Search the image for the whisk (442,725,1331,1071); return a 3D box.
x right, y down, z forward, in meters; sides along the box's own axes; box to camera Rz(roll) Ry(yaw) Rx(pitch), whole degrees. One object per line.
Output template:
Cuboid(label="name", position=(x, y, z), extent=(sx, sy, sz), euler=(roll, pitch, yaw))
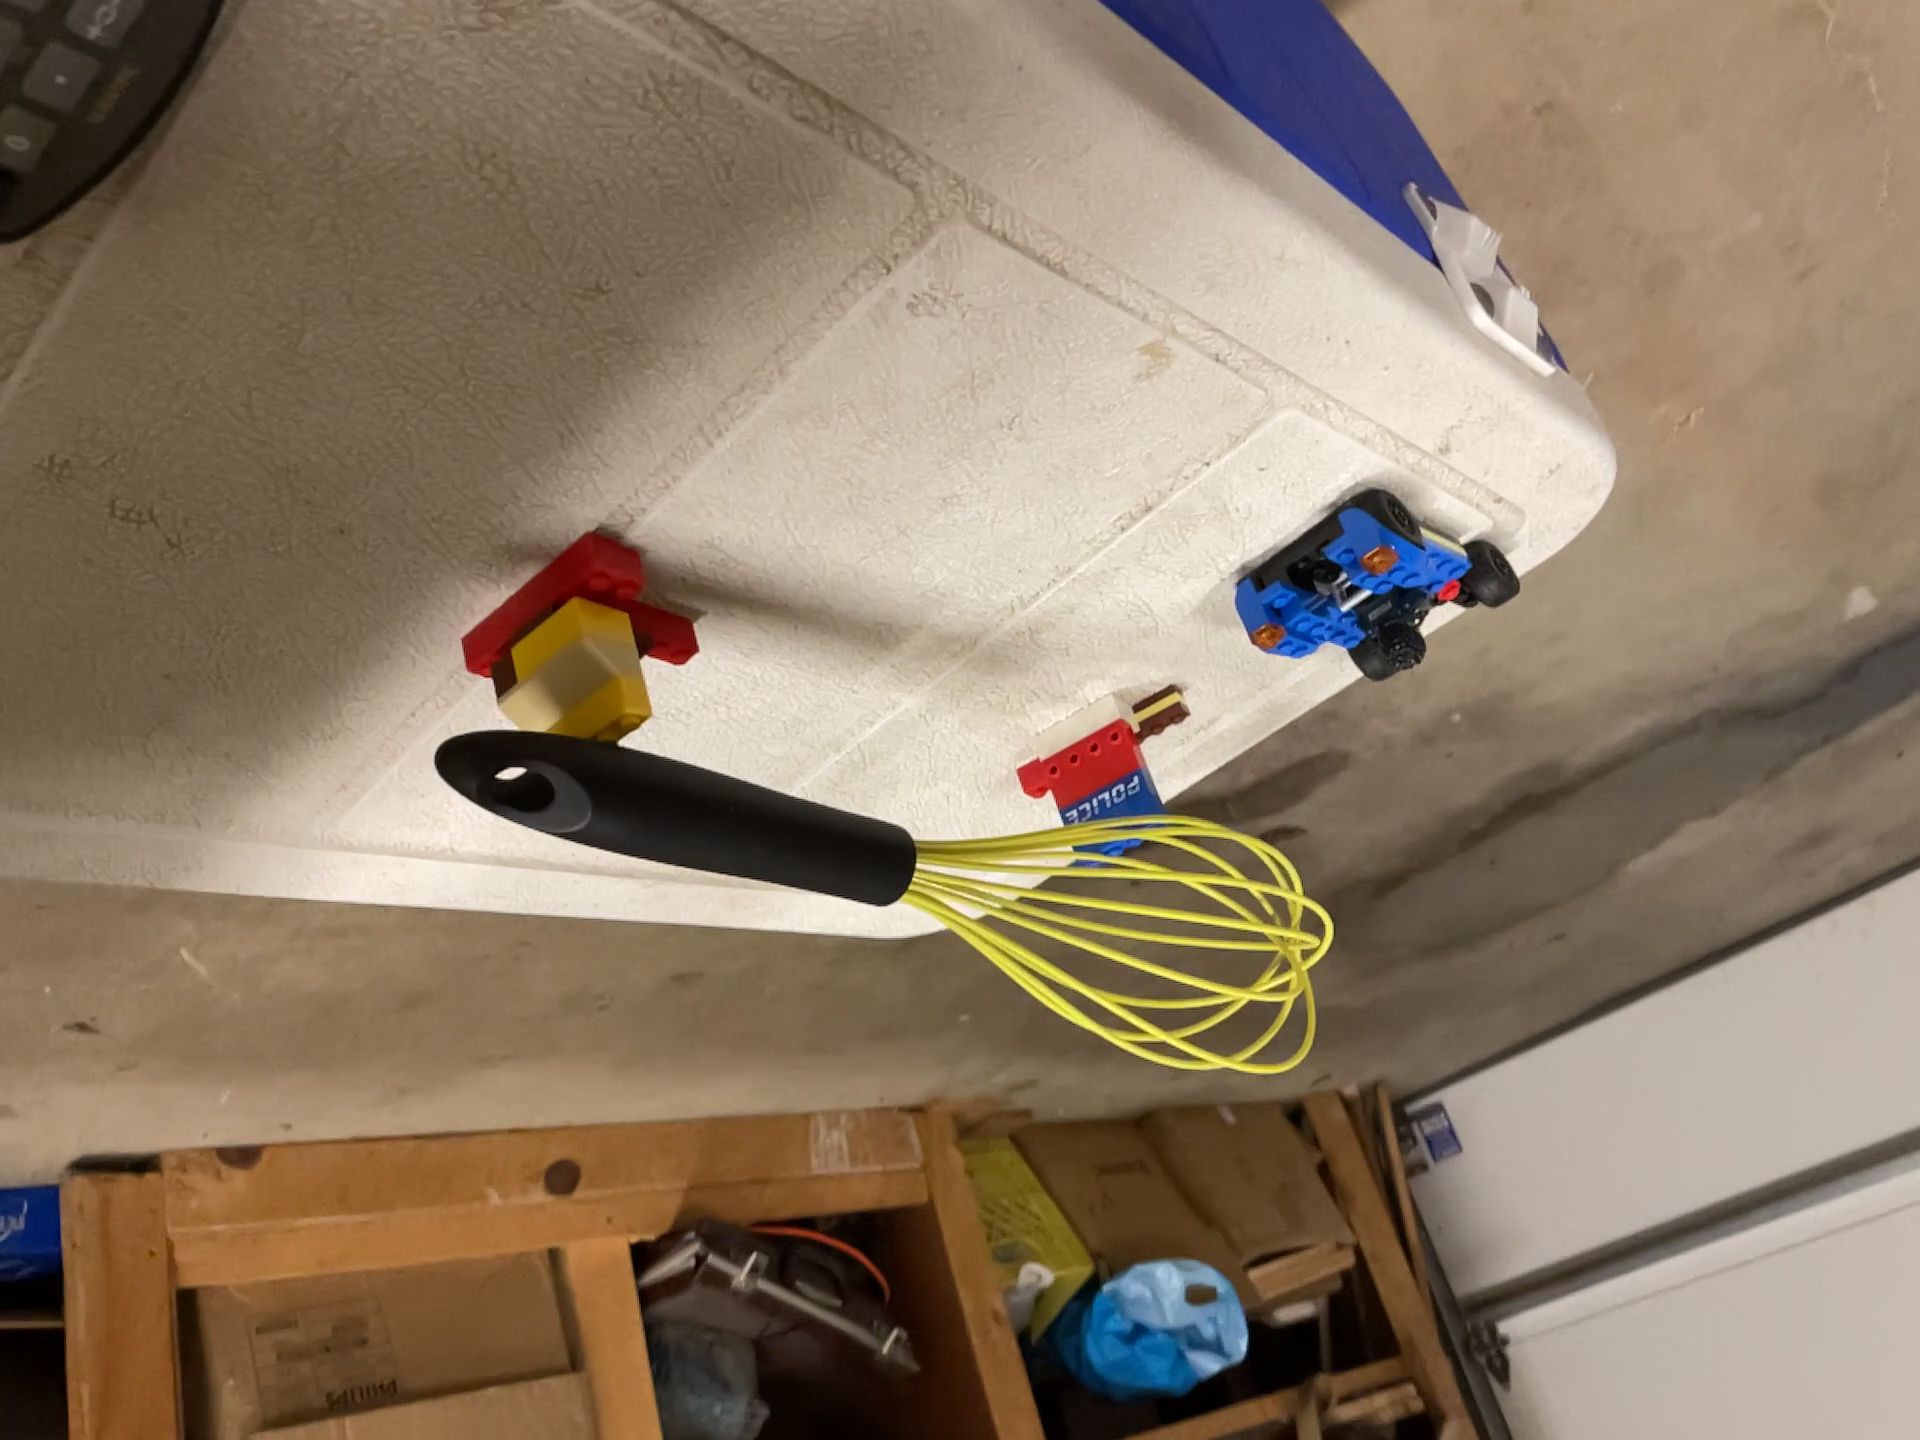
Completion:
Cuboid(label="whisk", position=(0.002, 0.045, 0.441), extent=(0.311, 0.067, 0.080), euler=(19, 89, -40))
